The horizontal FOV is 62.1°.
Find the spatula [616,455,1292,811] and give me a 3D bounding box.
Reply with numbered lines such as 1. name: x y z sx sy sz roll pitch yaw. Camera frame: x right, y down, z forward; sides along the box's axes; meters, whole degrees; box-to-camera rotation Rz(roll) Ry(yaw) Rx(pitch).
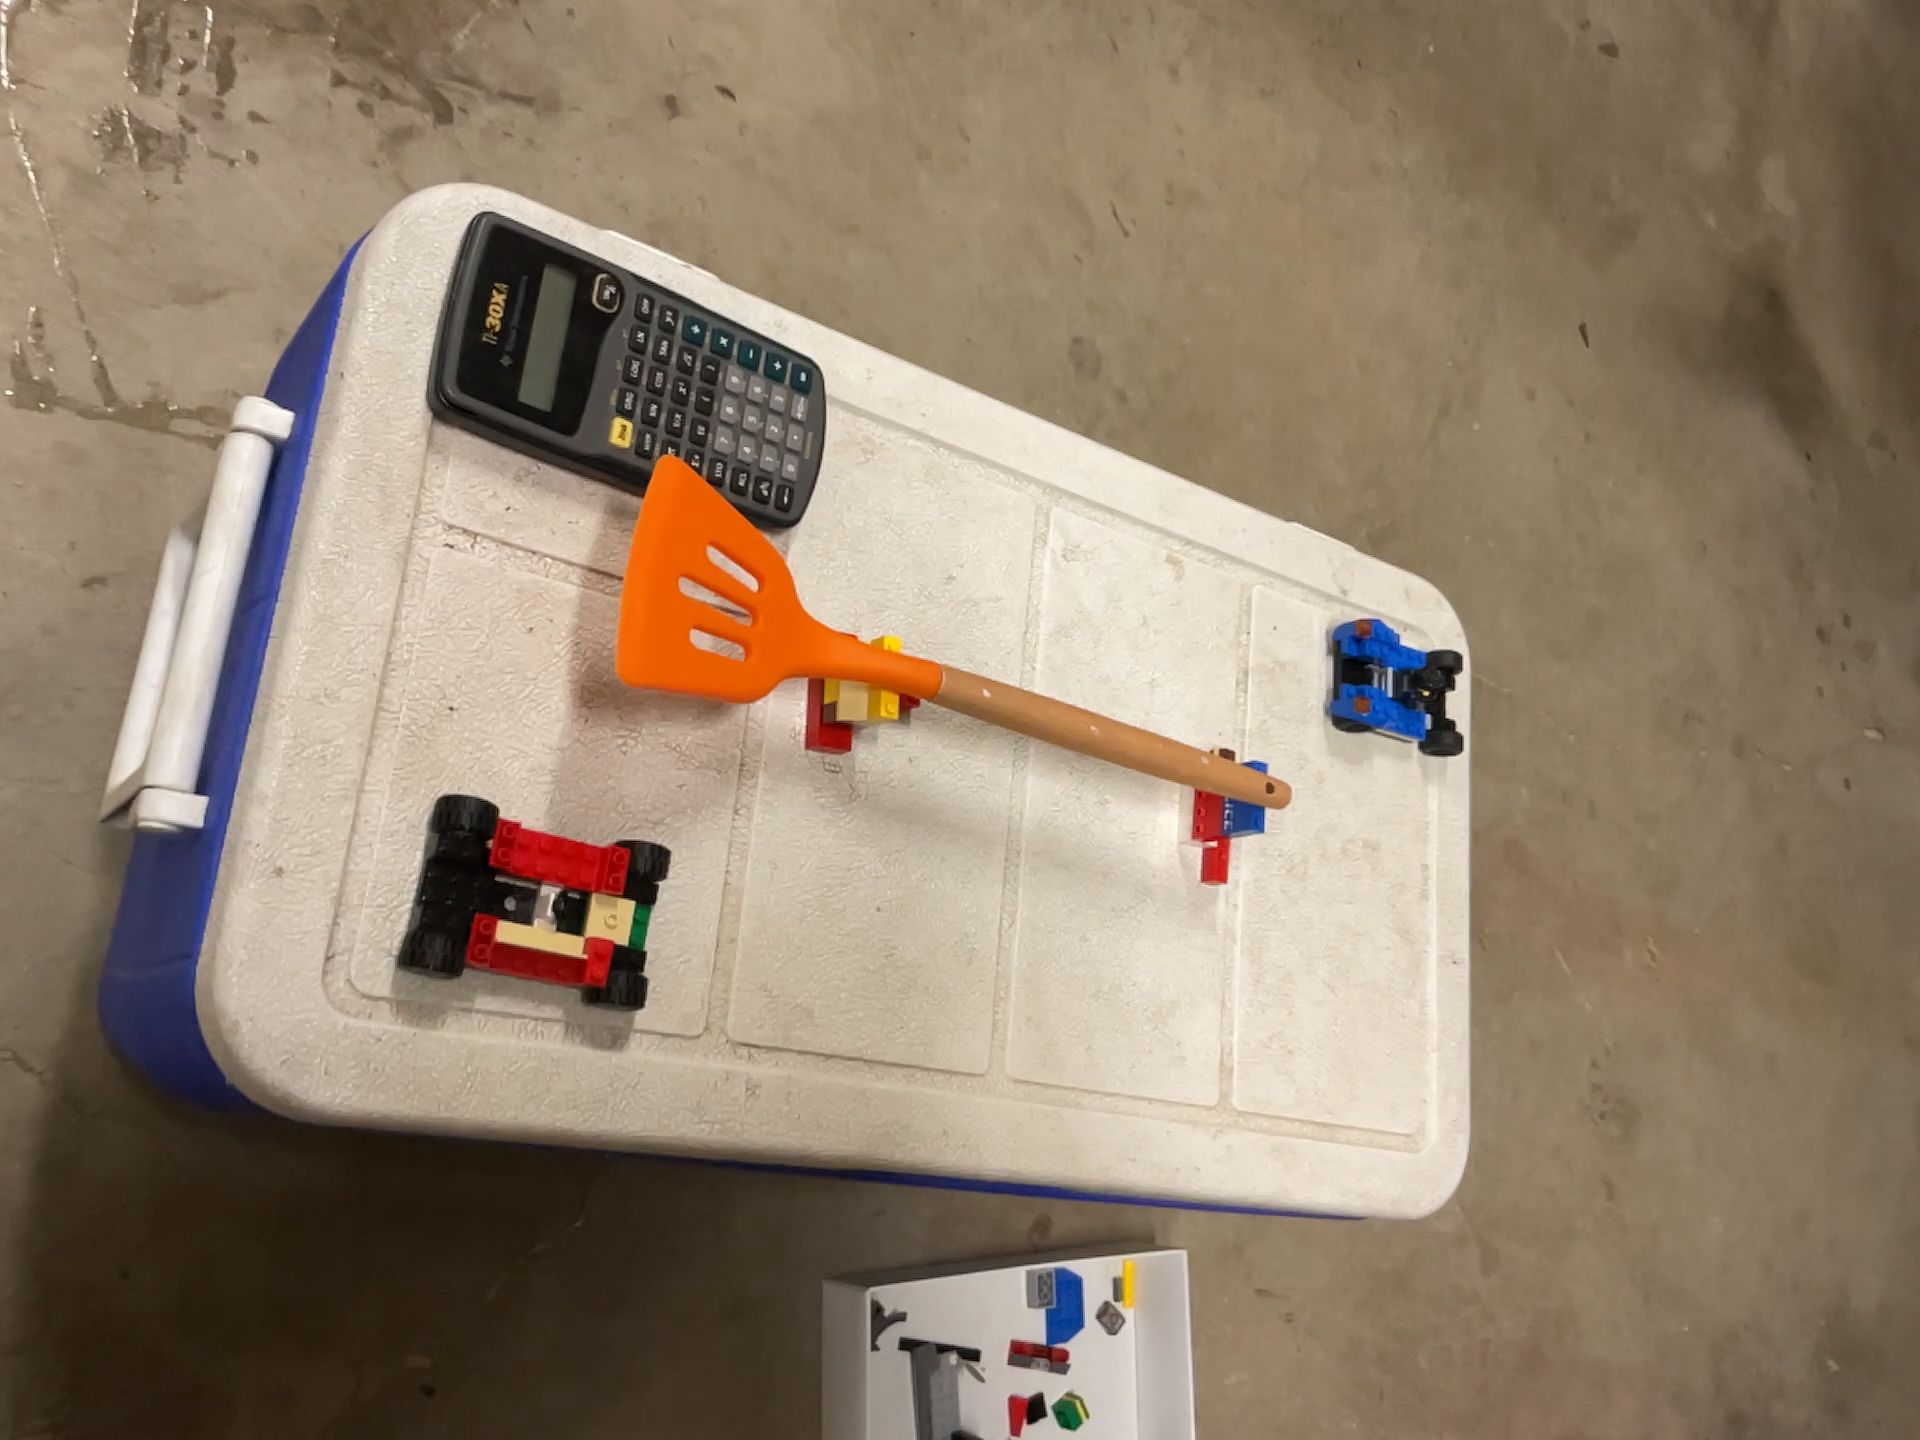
1. spatula: 0.015 -0.008 0.613 0.322 0.041 0.081 18 74 -31
